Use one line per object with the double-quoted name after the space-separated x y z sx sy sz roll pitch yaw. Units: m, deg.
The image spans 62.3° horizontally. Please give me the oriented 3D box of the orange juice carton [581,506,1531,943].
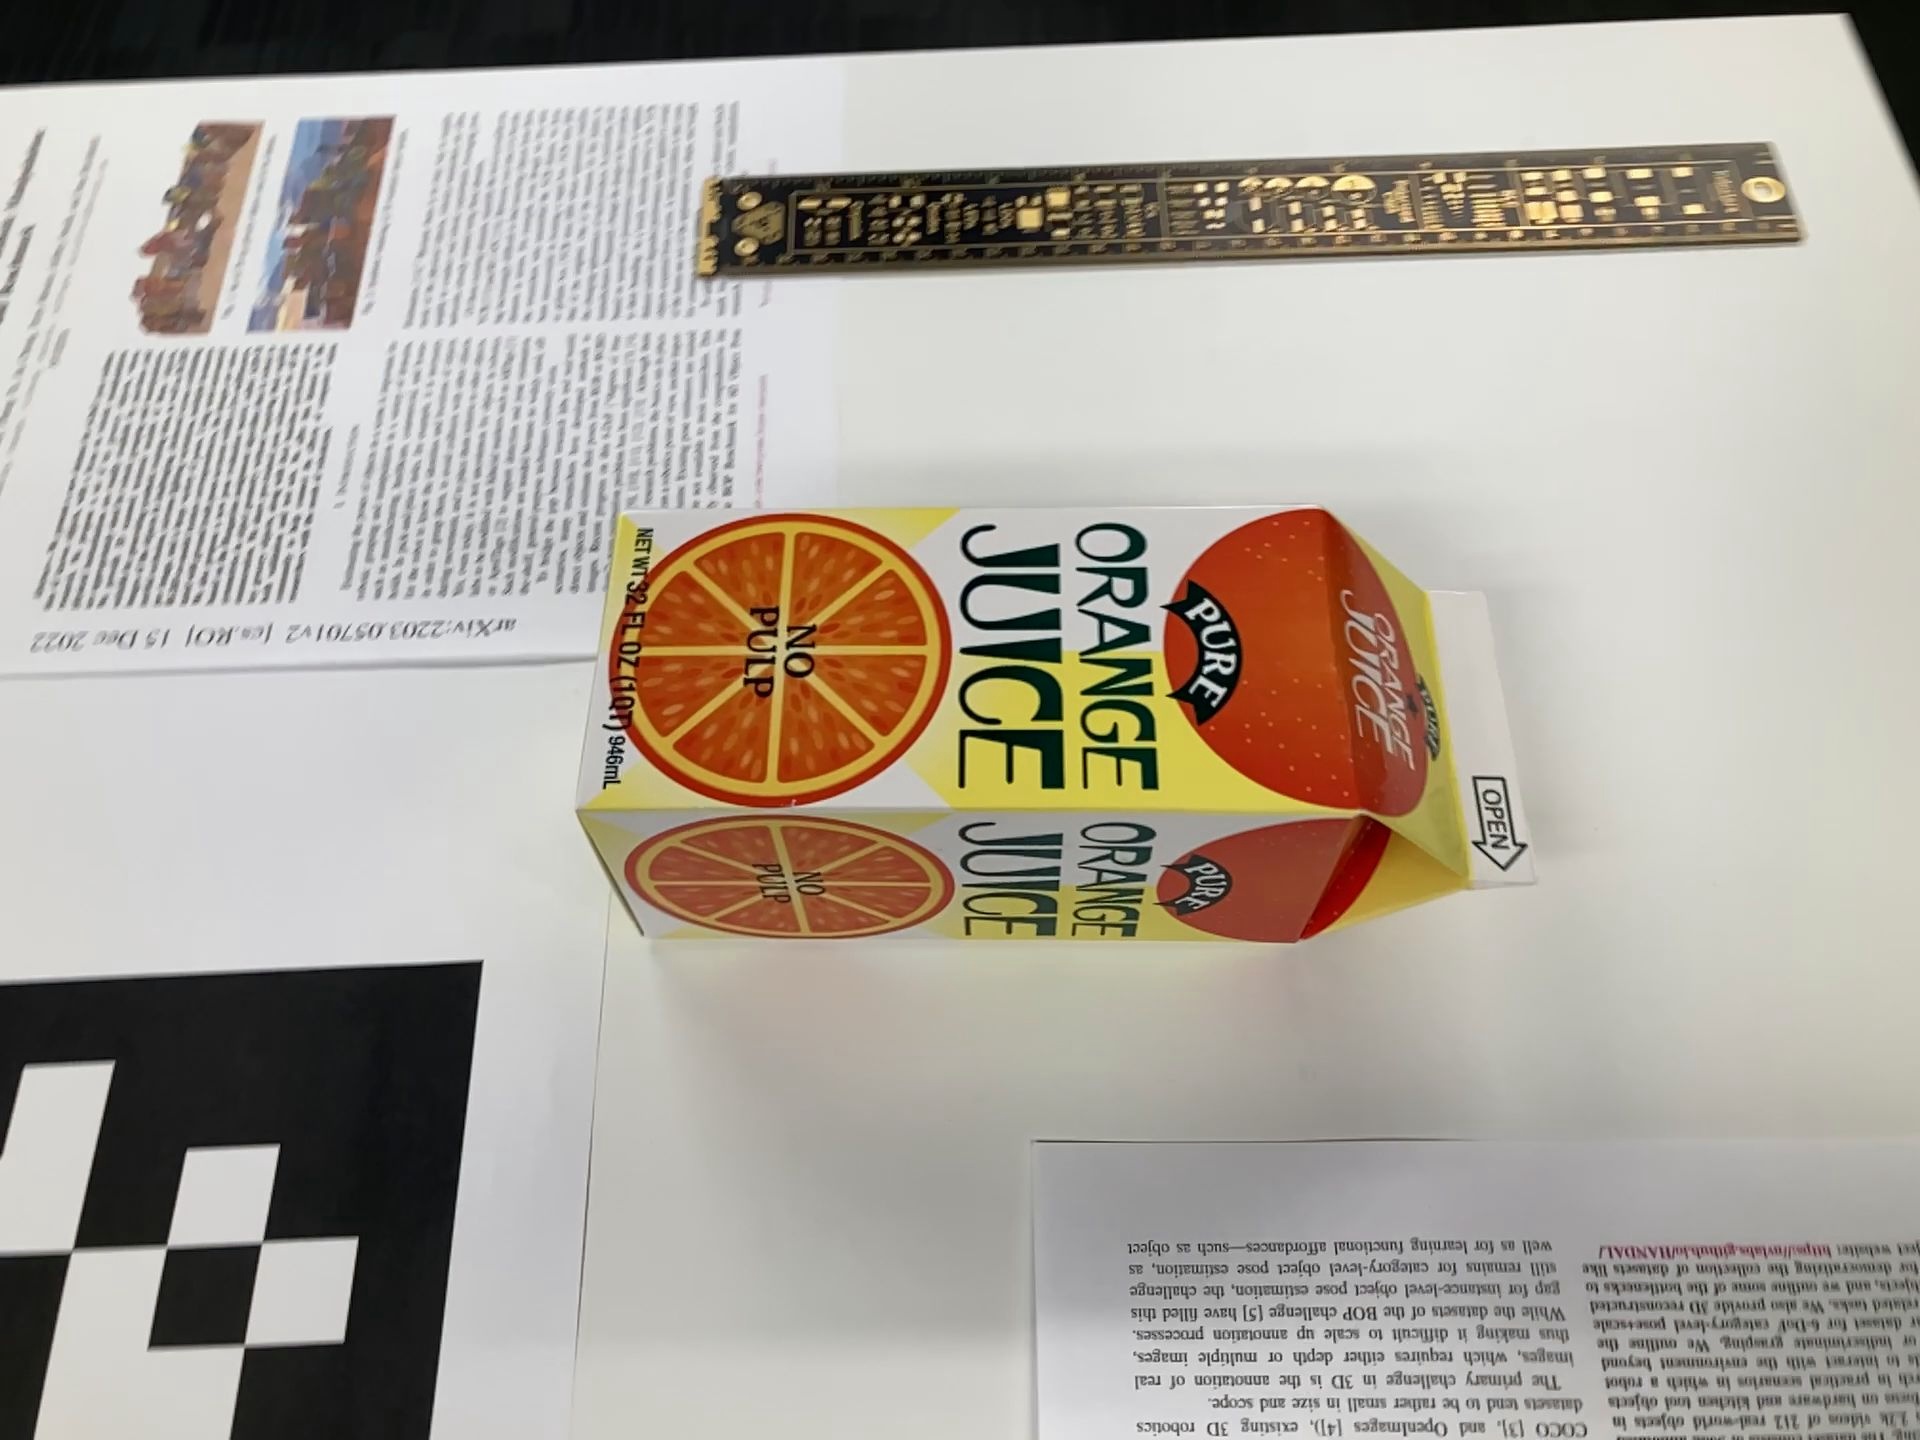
0.022 0.003 0.348 0.192 0.073 0.072 0 61 2 "orange juice carton"
